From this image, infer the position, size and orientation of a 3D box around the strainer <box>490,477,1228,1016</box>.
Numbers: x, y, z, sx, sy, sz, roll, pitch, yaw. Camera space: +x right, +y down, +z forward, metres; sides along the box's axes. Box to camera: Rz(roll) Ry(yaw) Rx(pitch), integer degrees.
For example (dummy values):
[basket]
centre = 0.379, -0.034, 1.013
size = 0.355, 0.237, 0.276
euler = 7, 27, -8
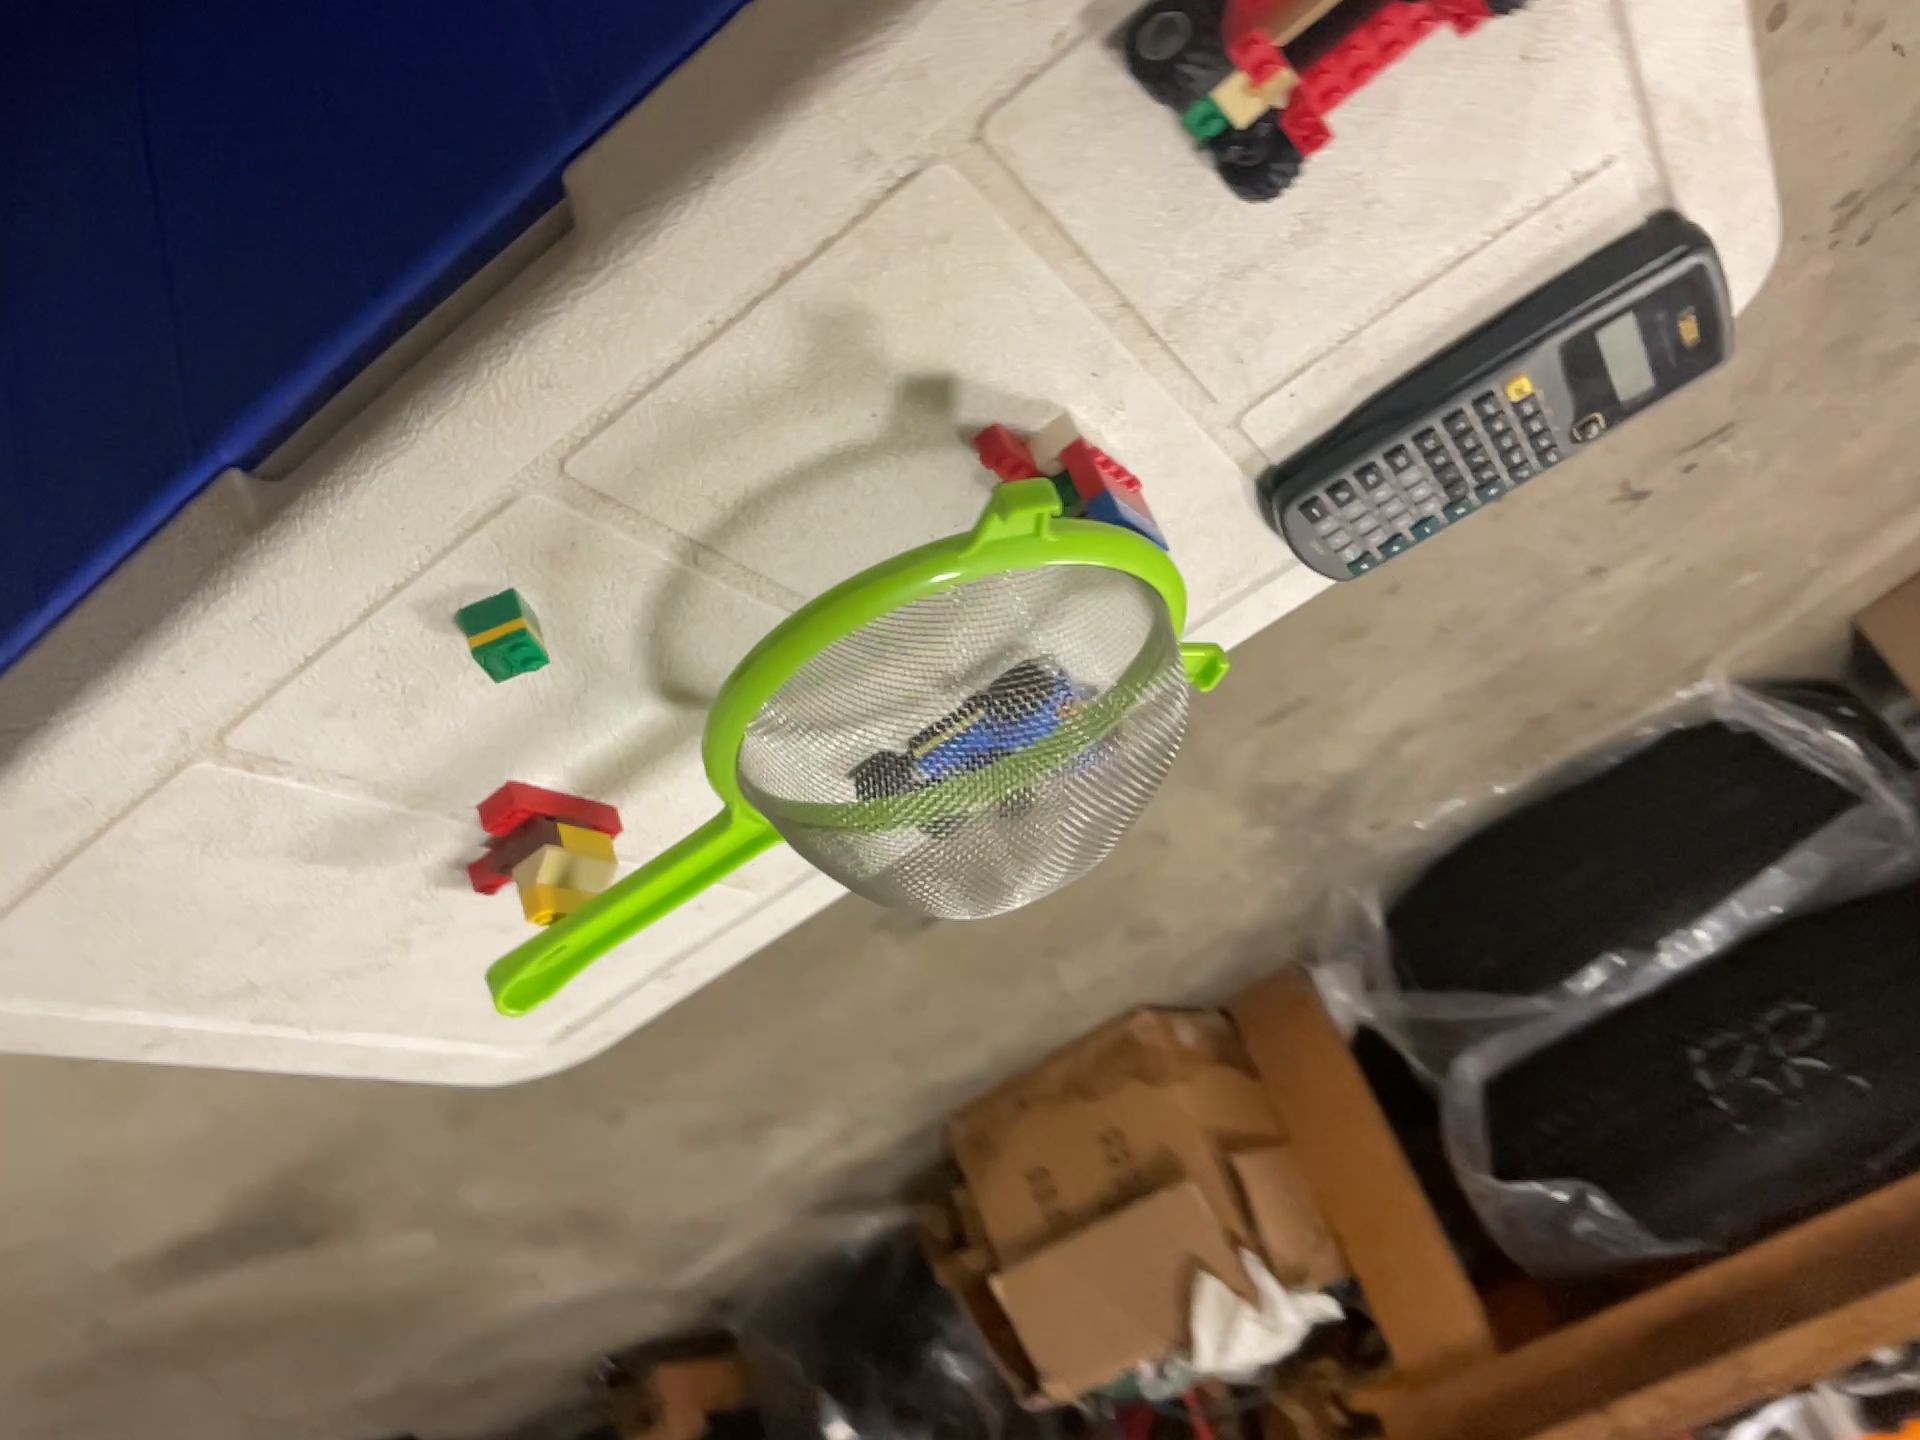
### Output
[strainer]
centre = -0.035, 0.041, 0.473
size = 0.256, 0.069, 0.151
euler = -33, 153, 15
